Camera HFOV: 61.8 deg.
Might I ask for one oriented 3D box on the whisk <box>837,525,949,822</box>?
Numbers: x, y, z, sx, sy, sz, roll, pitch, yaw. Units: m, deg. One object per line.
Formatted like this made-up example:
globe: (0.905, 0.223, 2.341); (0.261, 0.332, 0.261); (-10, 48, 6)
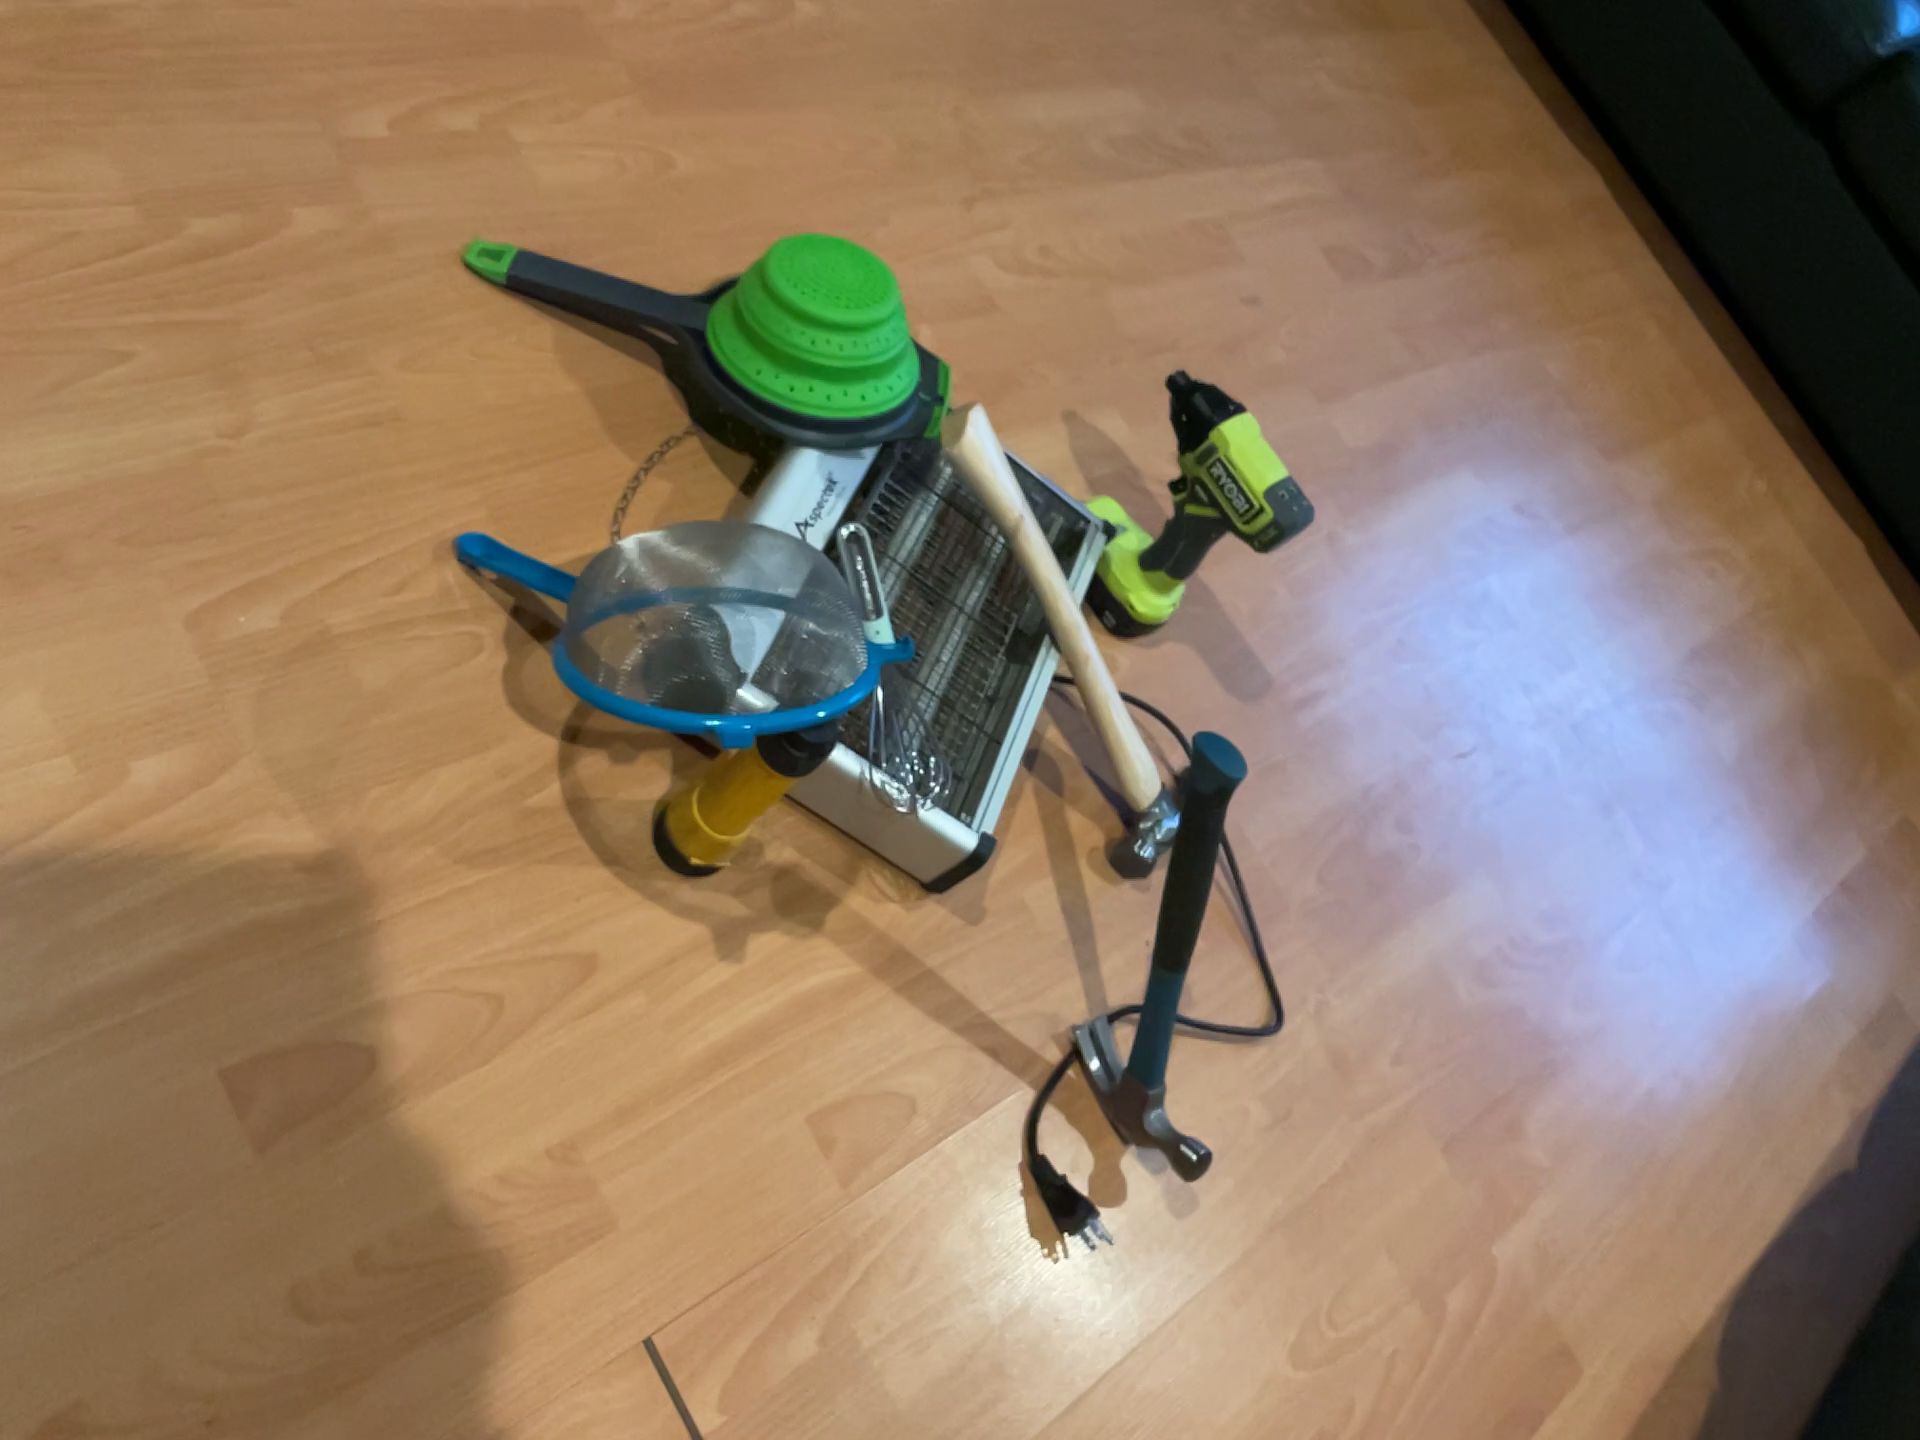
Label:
whisk: (-0.057, -0.039, 1.171); (0.058, 0.059, 0.246); (-11, 65, -7)

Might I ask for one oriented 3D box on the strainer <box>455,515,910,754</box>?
strainer: (-0.208, -0.098, 1.060); (0.340, 0.095, 0.211); (23, 31, 24)

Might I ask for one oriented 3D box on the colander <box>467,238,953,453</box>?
colander: (-0.189, -0.337, 1.269); (0.397, 0.094, 0.205); (16, 48, -6)

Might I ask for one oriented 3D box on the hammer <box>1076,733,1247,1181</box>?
hammer: (0.155, 0.165, 1.147); (0.033, 0.330, 0.128); (-14, 33, -38)

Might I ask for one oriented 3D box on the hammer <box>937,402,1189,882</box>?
hammer: (0.095, -0.073, 1.304); (0.146, 0.038, 0.410); (-47, 118, -41)

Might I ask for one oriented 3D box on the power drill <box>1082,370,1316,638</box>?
power drill: (0.186, -0.185, 1.408); (0.080, 0.223, 0.171); (-29, 82, -41)
